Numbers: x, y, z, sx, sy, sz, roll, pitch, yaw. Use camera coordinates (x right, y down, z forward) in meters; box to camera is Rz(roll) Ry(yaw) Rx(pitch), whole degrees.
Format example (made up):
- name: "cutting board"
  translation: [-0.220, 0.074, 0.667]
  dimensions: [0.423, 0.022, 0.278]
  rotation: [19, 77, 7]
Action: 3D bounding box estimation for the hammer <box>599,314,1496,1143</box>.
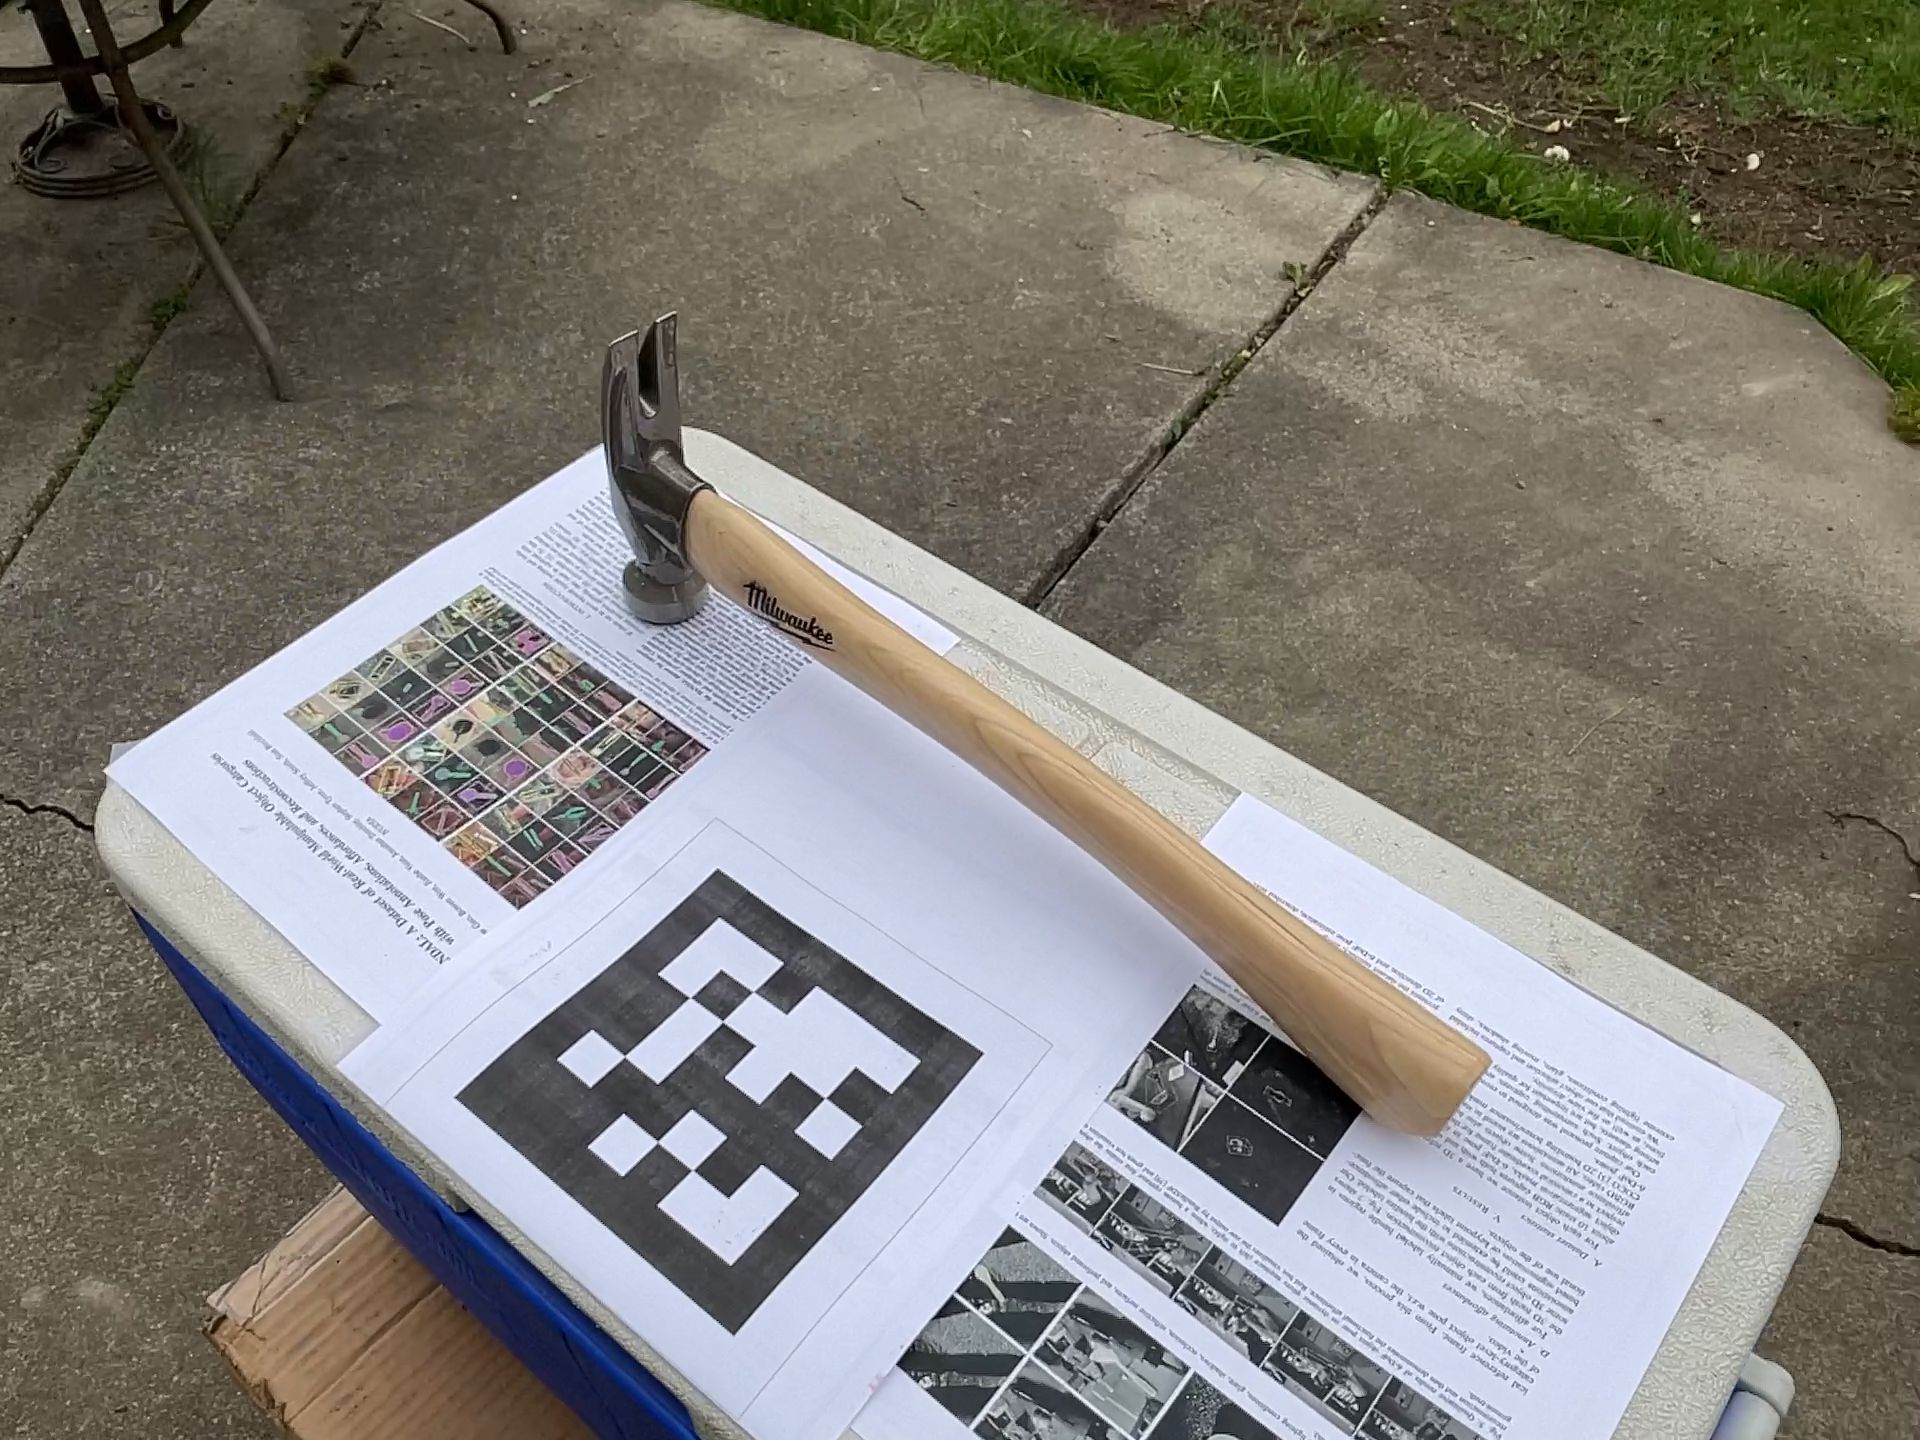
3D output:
- name: "hammer"
  translation: [0.014, 0.003, 0.586]
  dimensions: [0.411, 0.146, 0.038]
  rotation: [37, 56, 22]
